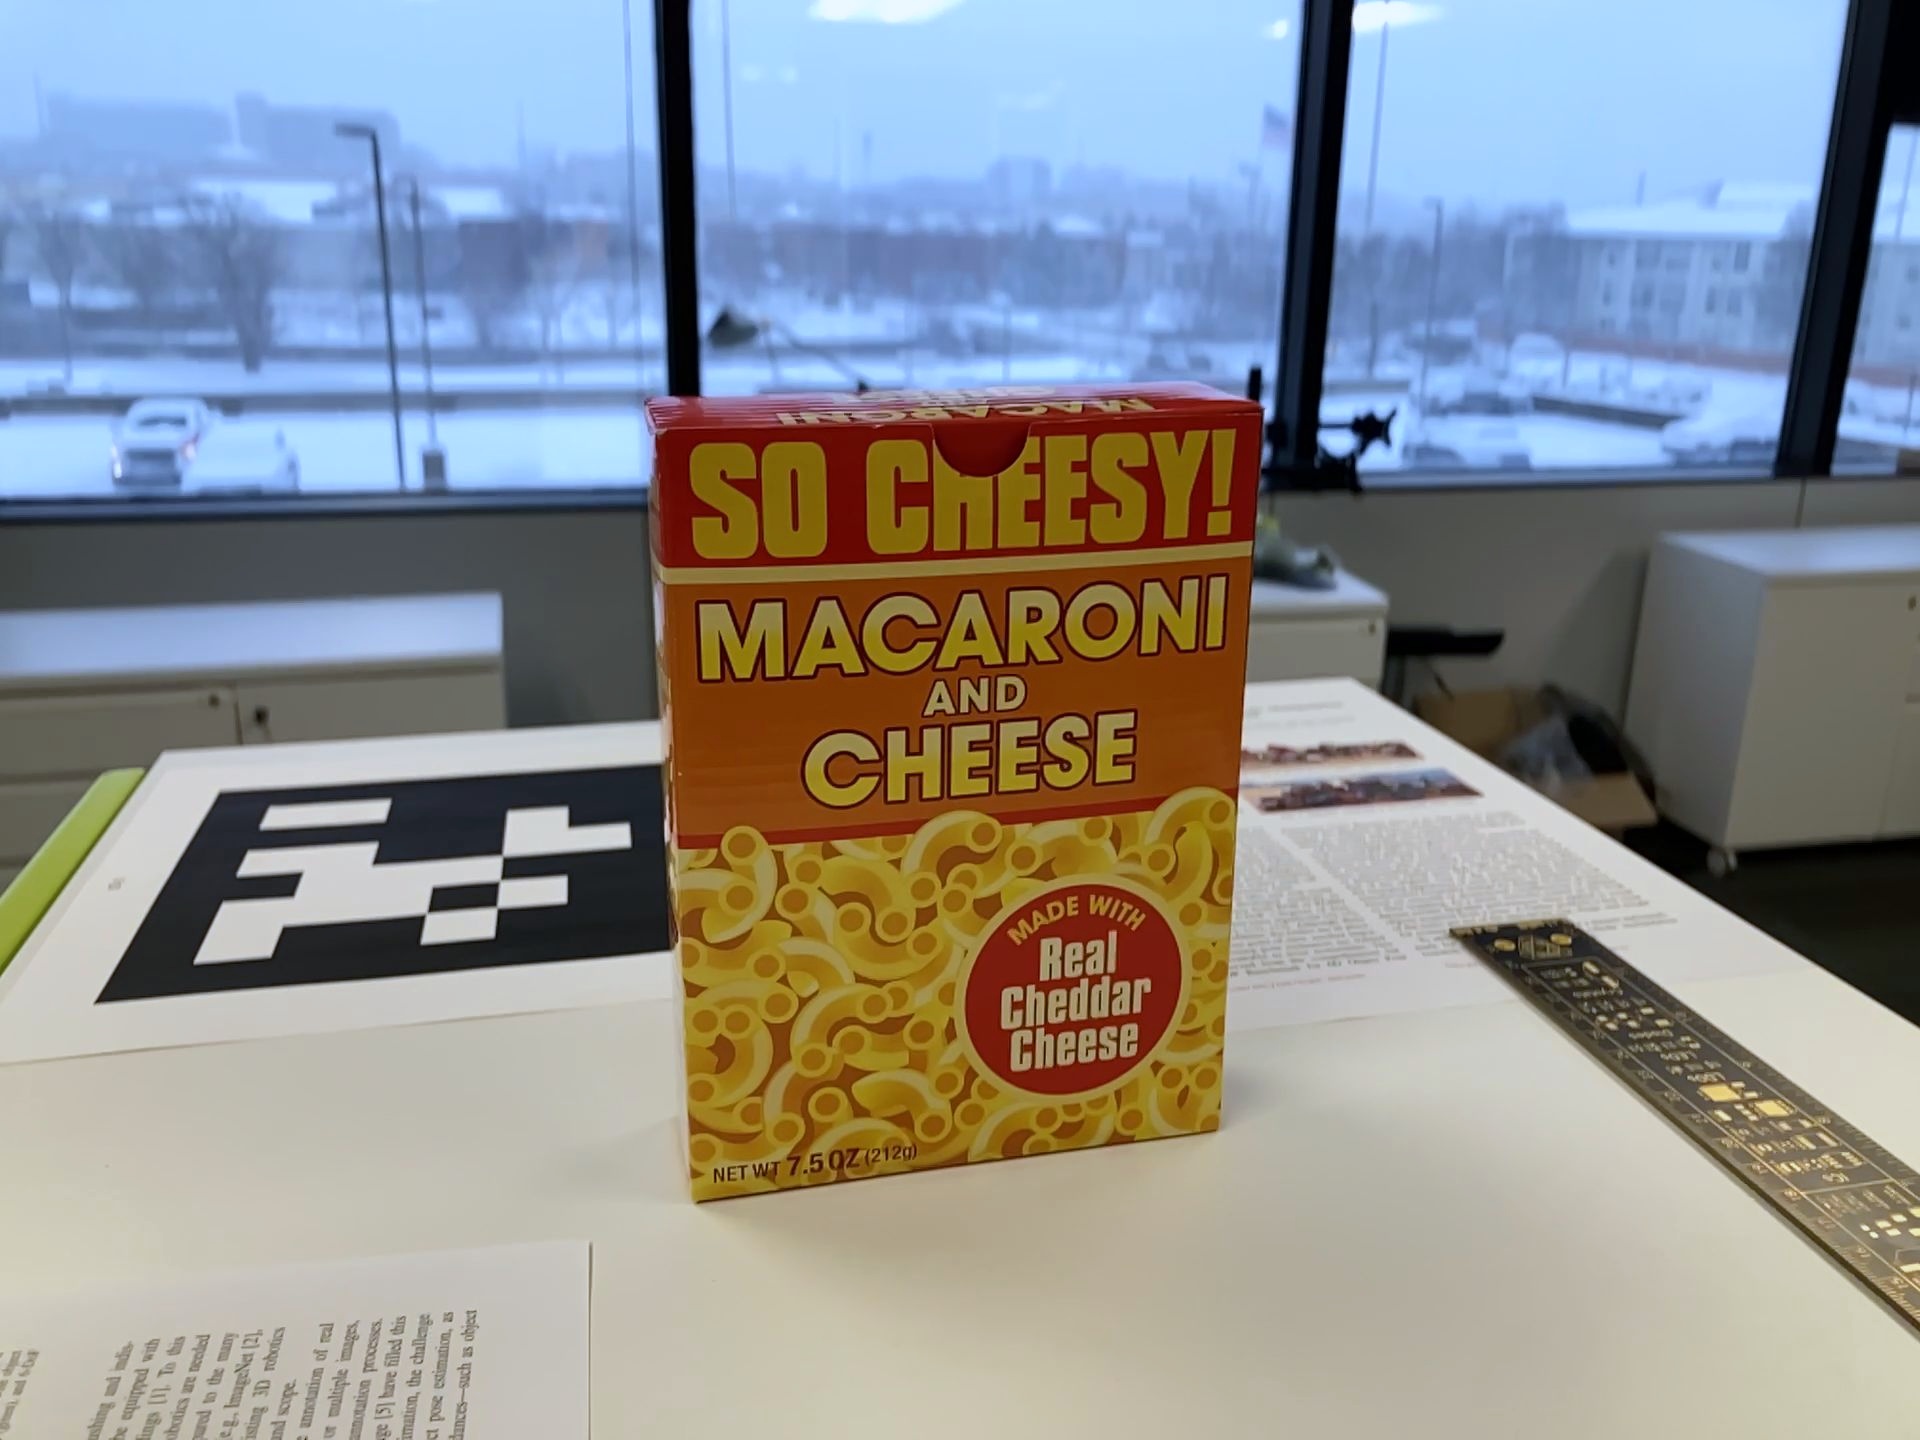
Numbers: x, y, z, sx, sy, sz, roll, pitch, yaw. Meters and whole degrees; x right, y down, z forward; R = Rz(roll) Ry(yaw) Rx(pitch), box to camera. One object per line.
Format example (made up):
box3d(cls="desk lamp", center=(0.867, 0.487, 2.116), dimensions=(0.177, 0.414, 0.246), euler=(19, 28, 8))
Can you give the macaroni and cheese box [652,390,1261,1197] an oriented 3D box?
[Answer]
box3d(cls="macaroni and cheese box", center=(-0.001, 0.014, 0.348), dimensions=(0.124, 0.166, 0.040), euler=(-4, 18, -16))
